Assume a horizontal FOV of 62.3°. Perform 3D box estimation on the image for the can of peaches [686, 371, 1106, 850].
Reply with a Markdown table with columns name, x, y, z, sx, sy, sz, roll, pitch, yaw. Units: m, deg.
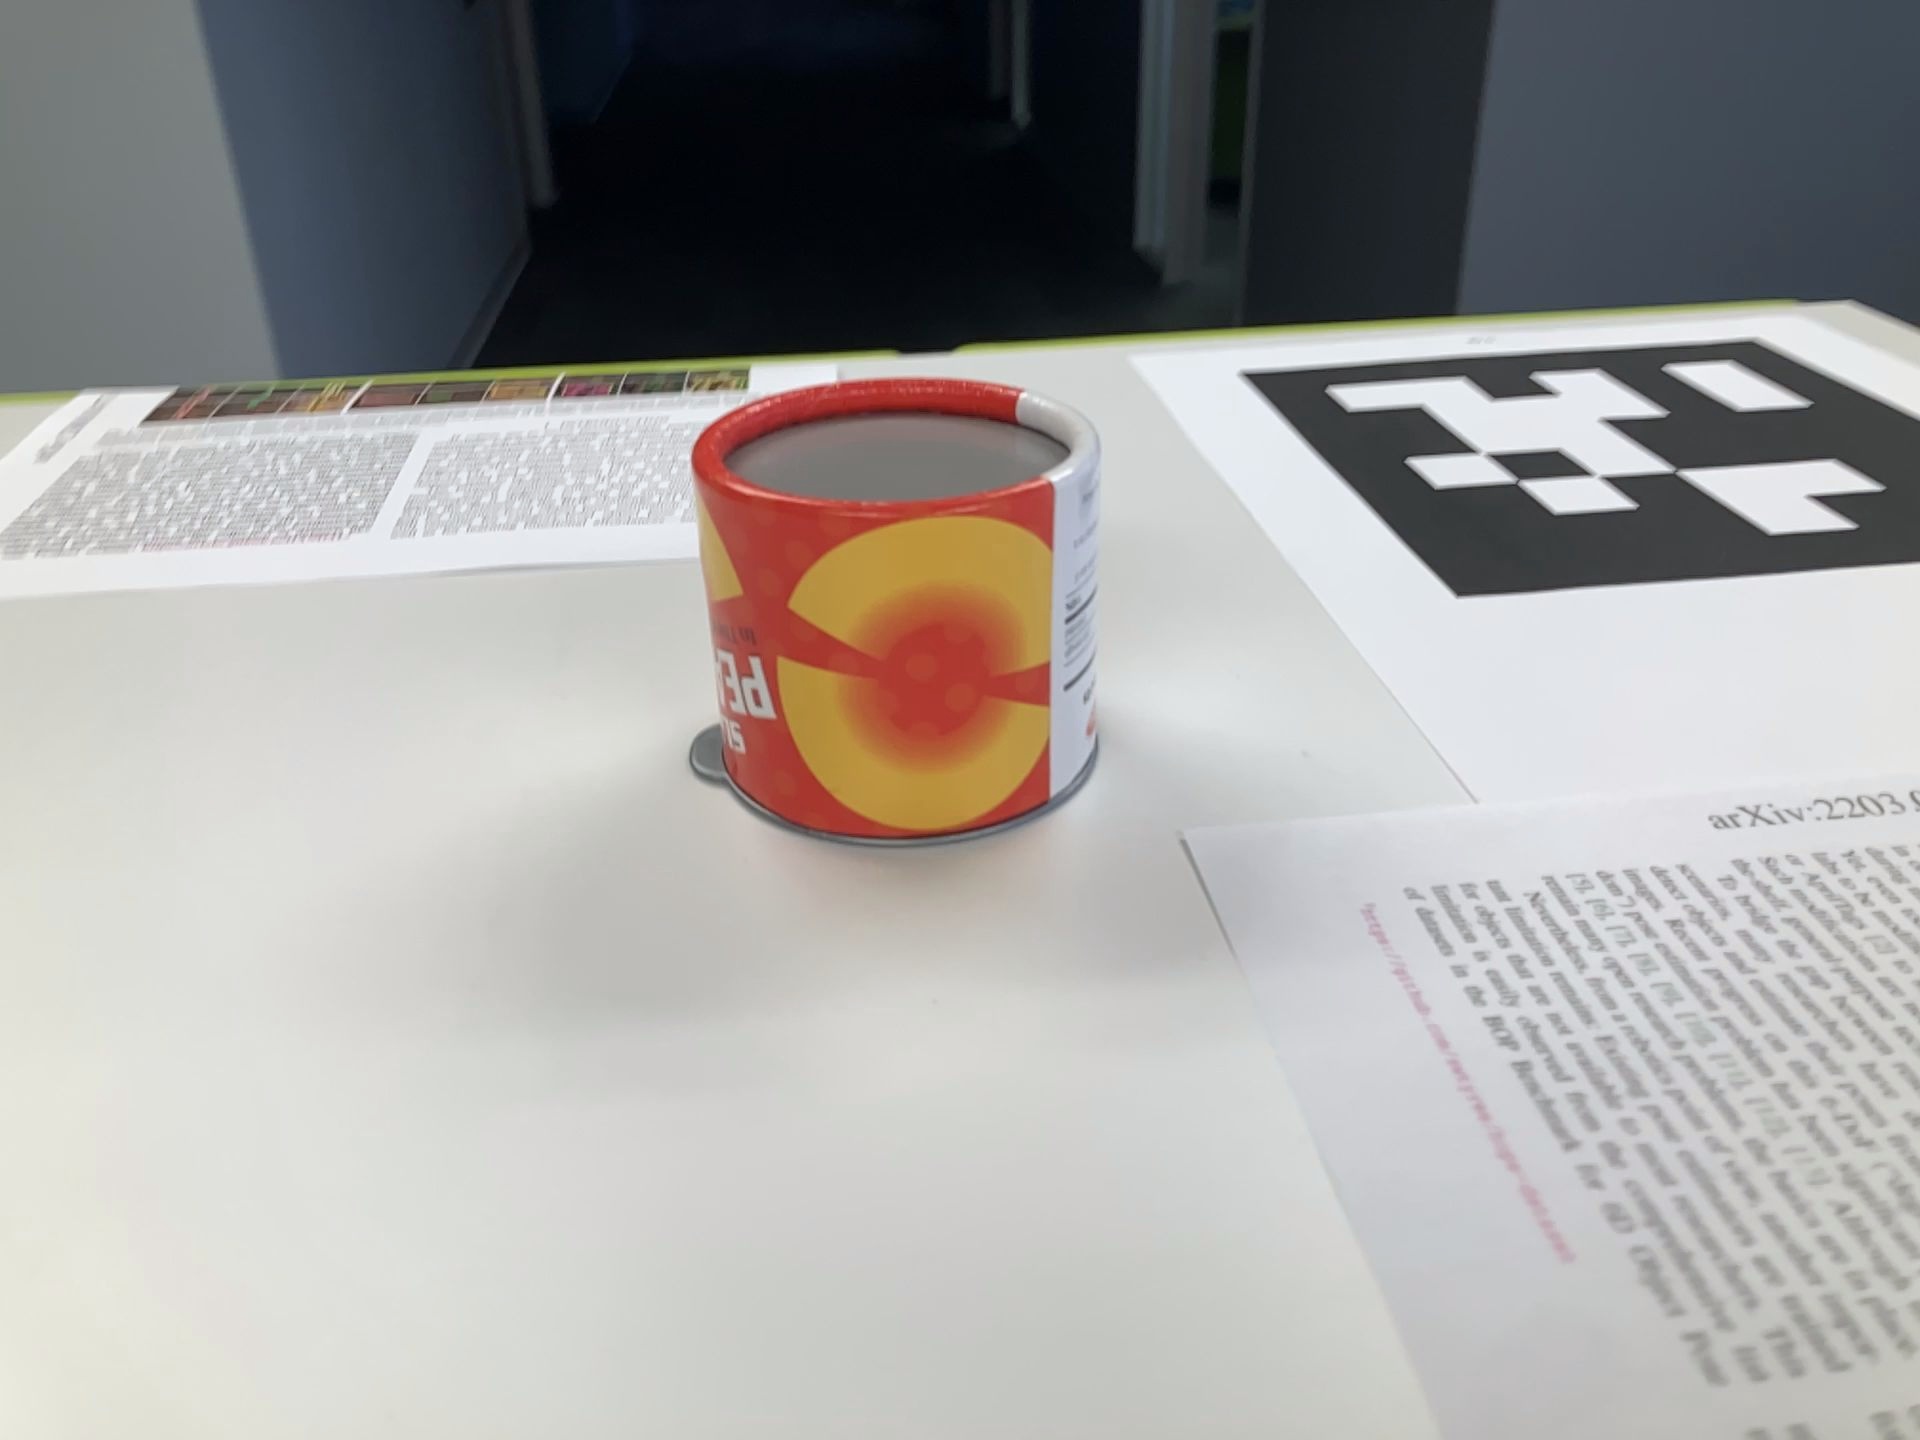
| name | x | y | z | sx | sy | sz | roll | pitch | yaw |
| --- | --- | --- | --- | --- | --- | --- | --- | --- | --- |
| can of peaches | -0.012 | -0.021 | 0.260 | 0.071 | 0.058 | 0.071 | 0 | 29 | 0 |
